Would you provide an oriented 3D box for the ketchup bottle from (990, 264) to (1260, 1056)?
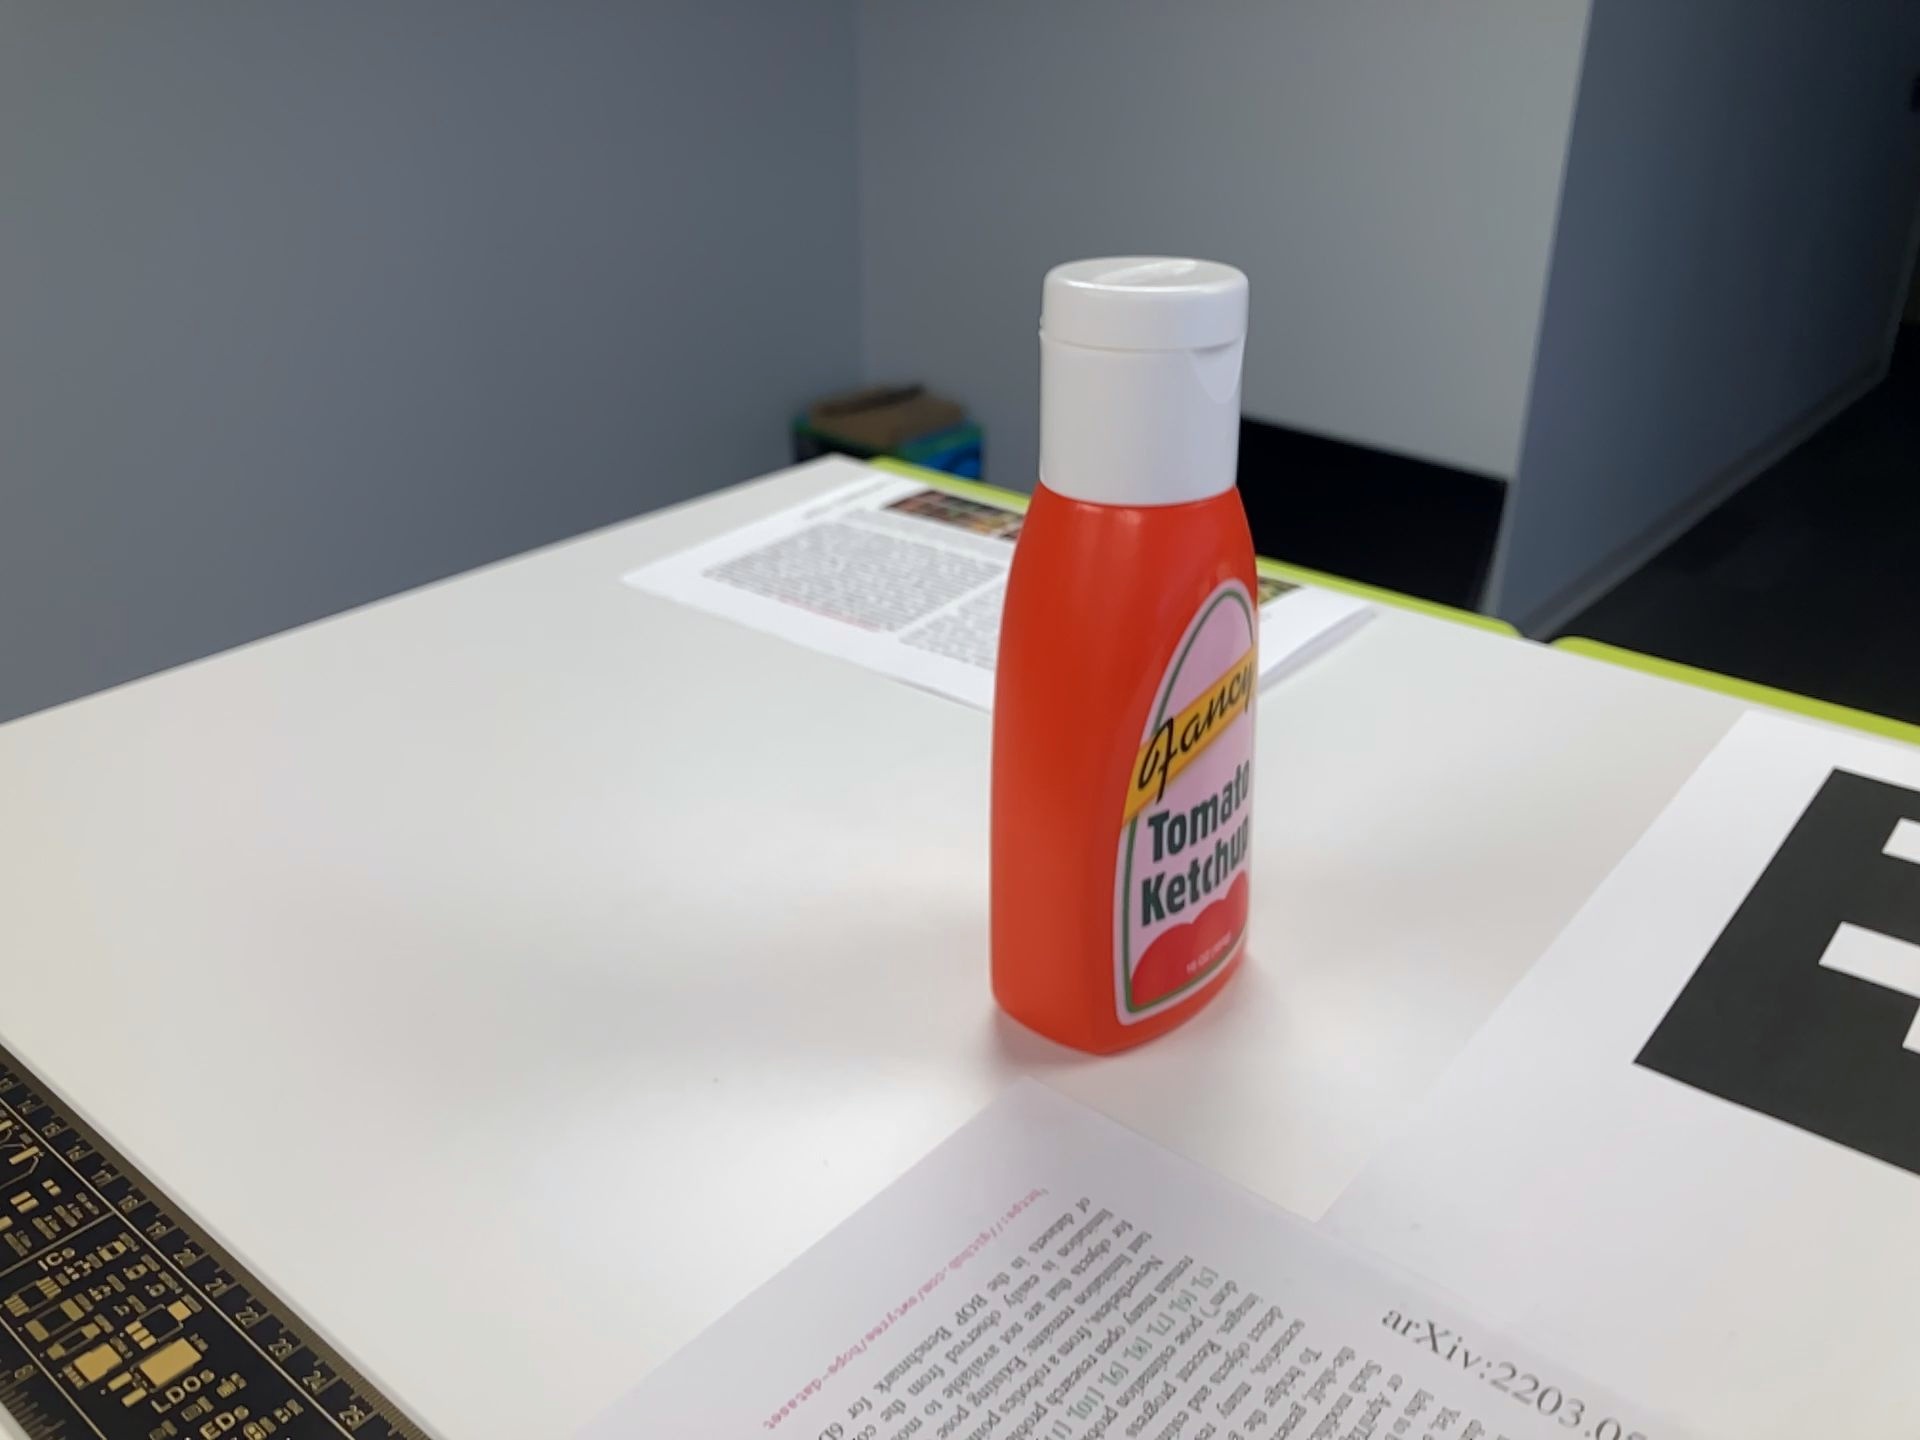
[{"bbox_3d":[0.033,-0.011,0.314,0.043,0.149,0.065,19,31,37],"label":"ketchup bottle"}]
